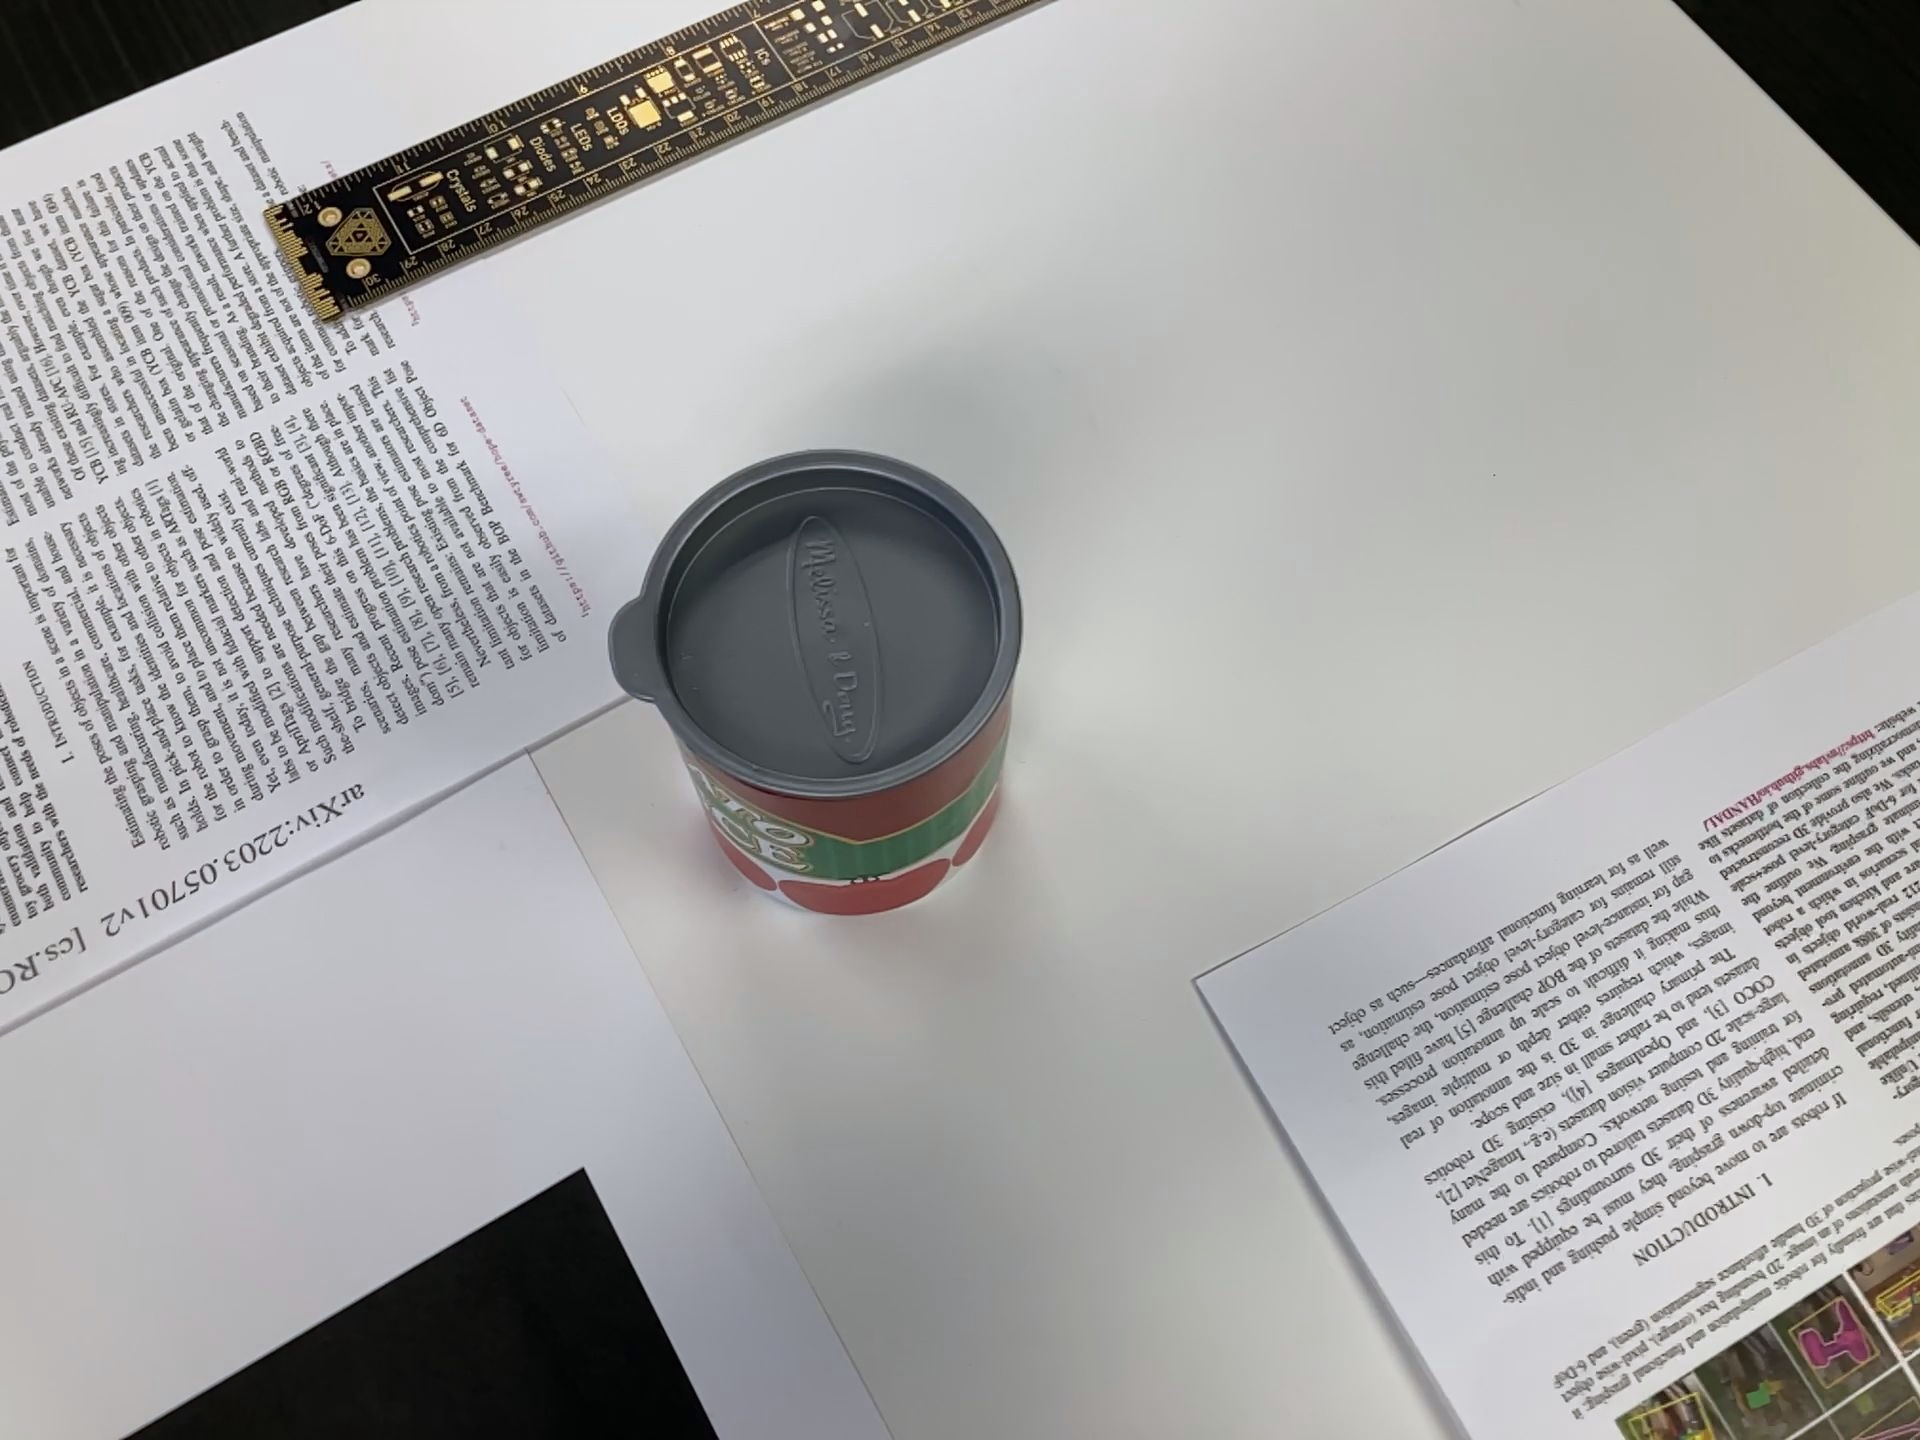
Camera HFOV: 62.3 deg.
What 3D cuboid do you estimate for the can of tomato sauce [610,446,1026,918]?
[{"bbox_3d":[-0.024,-0.002,0.310,0.071,0.083,0.071,0,68,-1],"label":"can of tomato sauce"}]
